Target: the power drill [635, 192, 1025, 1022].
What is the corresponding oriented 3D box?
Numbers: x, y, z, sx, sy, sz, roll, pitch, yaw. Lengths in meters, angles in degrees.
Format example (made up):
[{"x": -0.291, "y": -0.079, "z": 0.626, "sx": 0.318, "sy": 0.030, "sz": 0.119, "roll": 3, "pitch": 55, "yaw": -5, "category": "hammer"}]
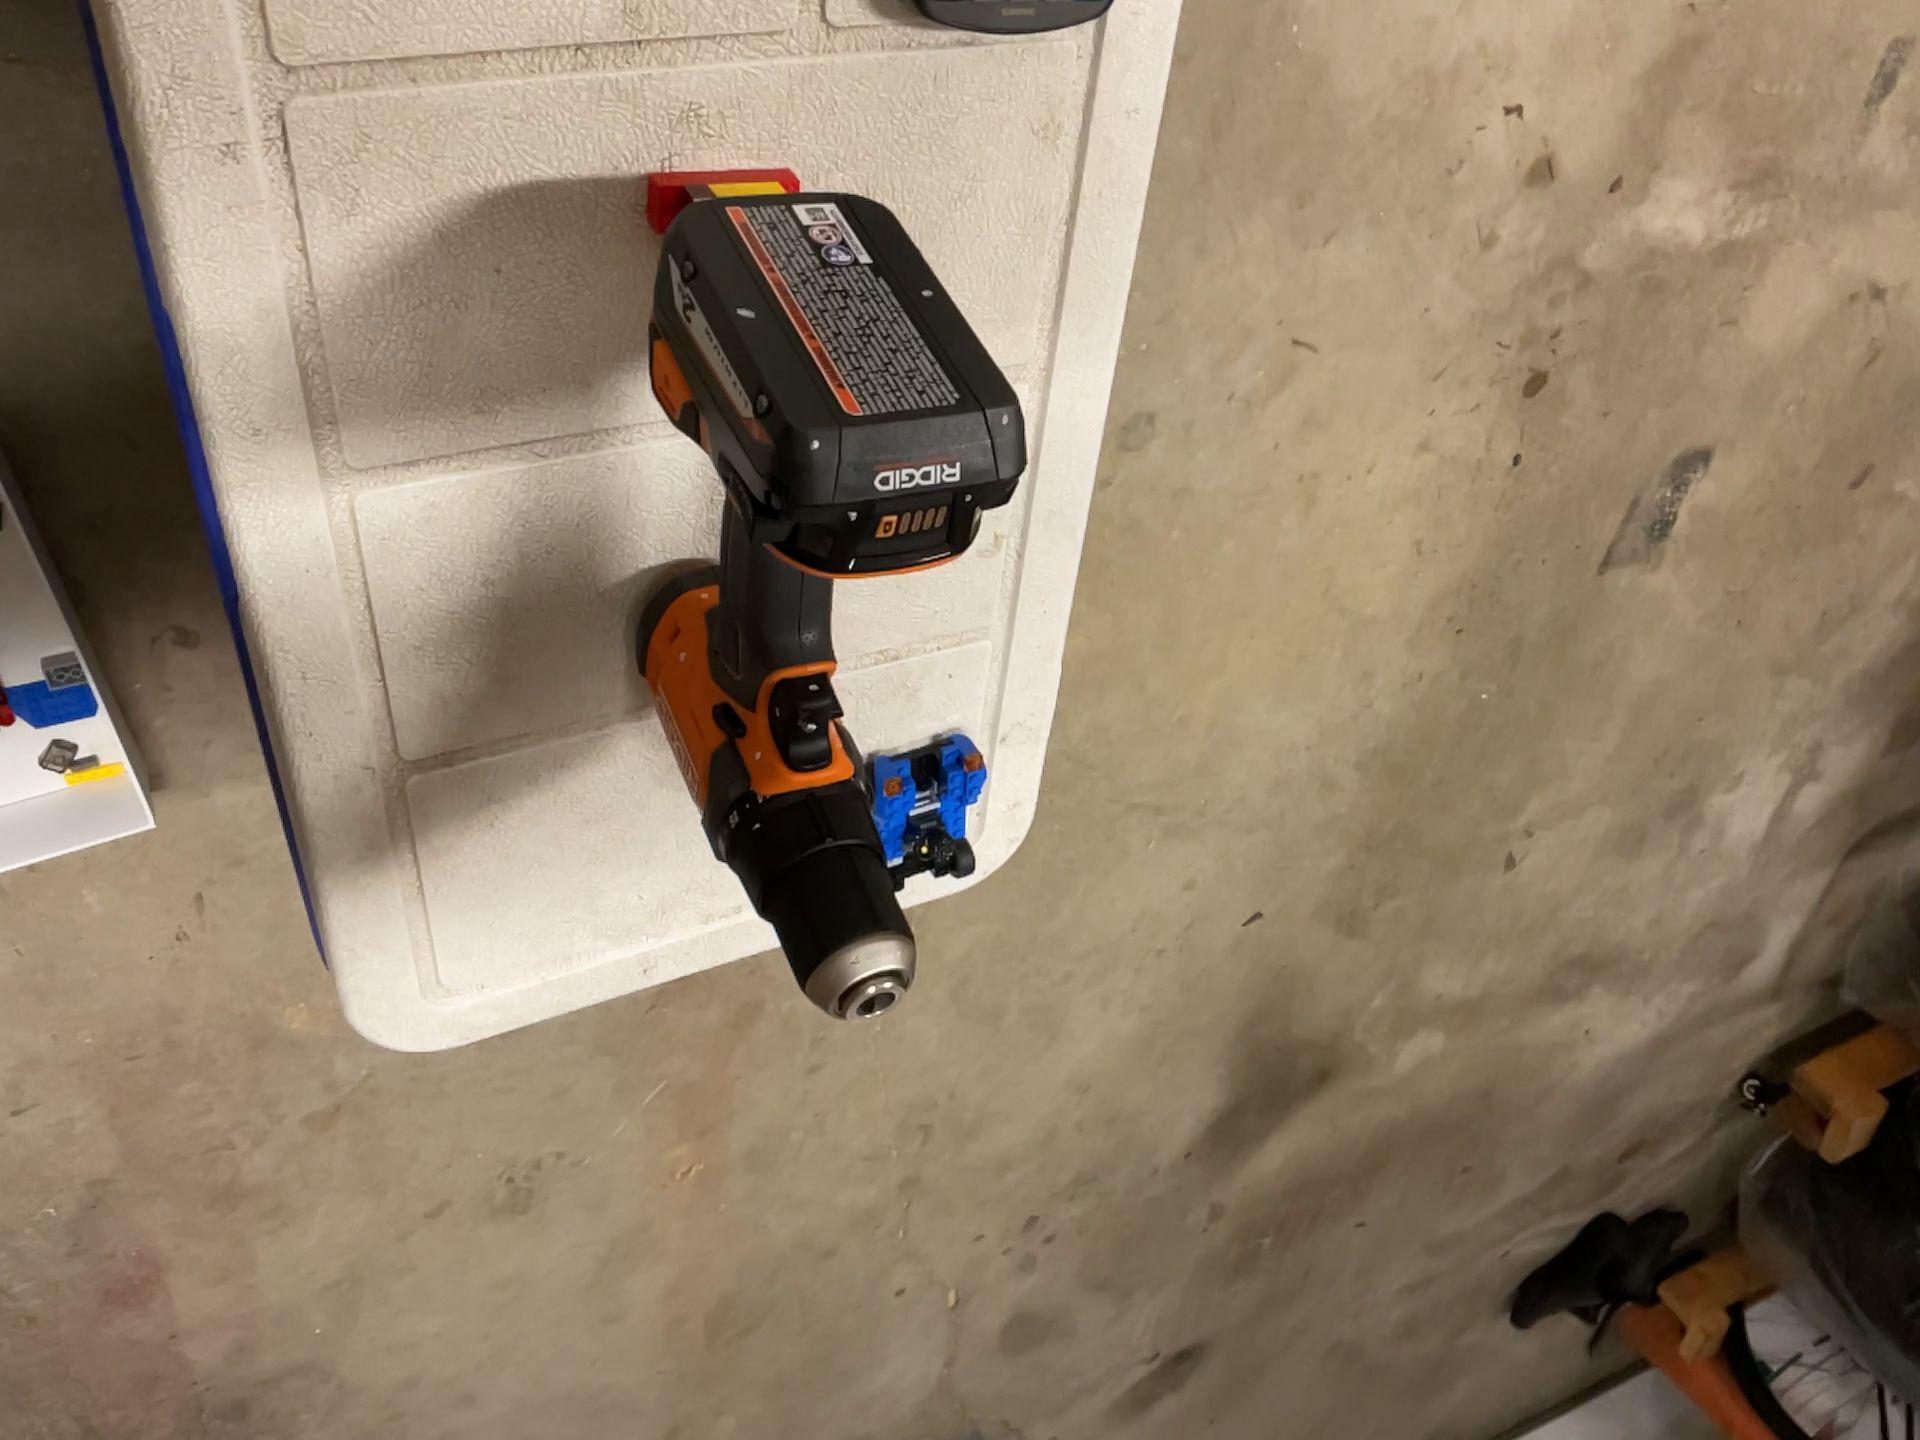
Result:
[{"x": -0.048, "y": -0.027, "z": 0.516, "sx": 0.084, "sy": 0.185, "sz": 0.225, "roll": -11, "pitch": 144, "yaw": -25, "category": "power drill"}]
